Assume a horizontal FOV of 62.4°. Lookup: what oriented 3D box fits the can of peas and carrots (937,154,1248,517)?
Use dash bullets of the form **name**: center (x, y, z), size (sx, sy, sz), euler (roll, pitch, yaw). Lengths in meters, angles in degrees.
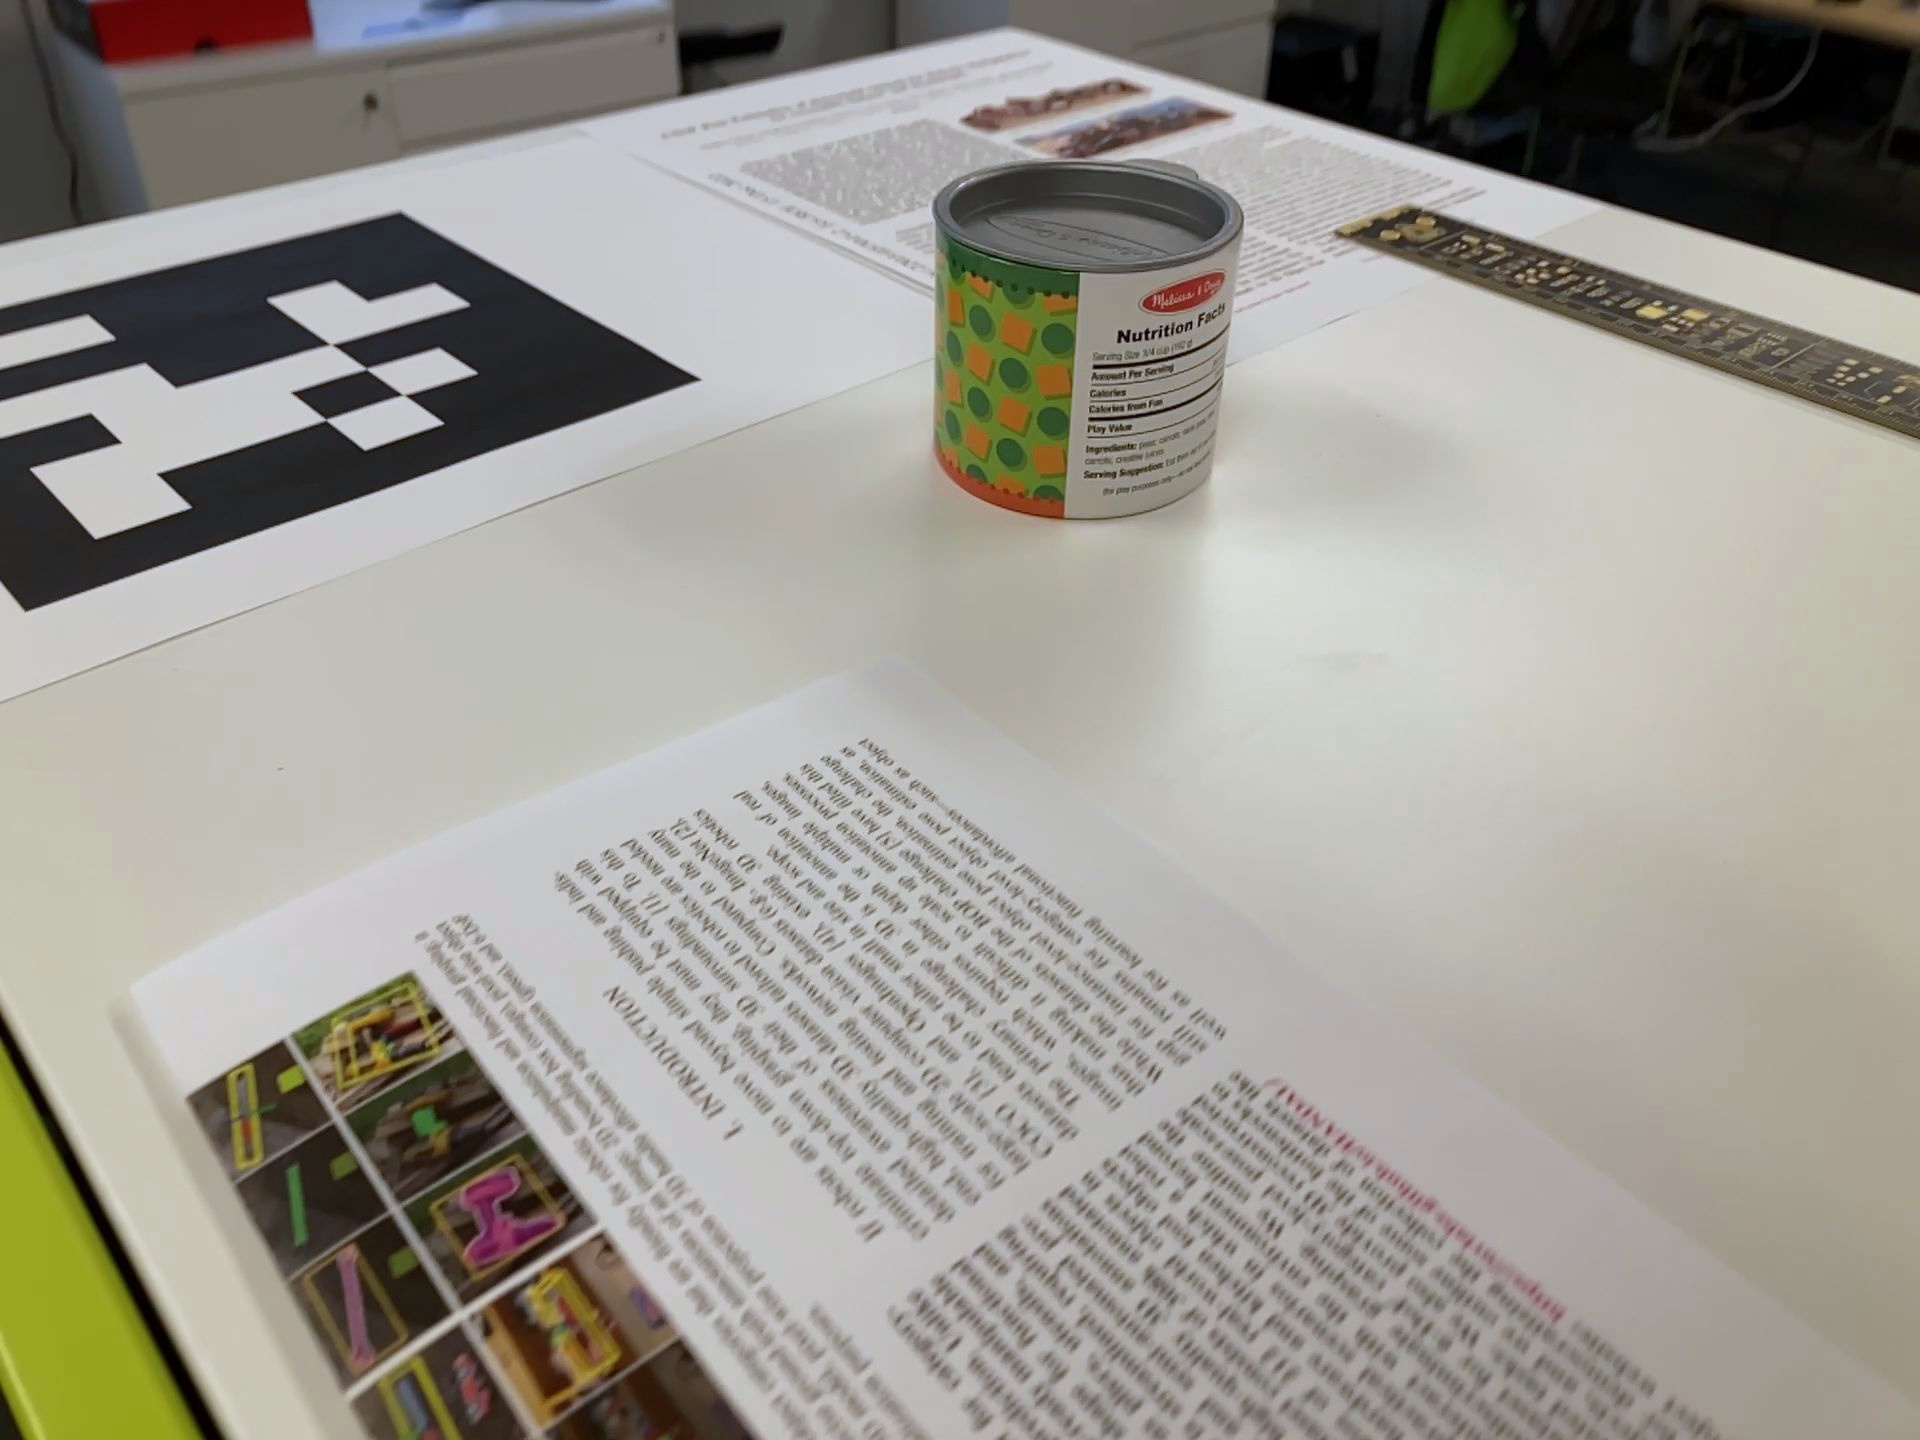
- **can of peas and carrots**: center (0.026, -0.087, 0.357), size (0.071, 0.059, 0.071), euler (1, 37, 0)
